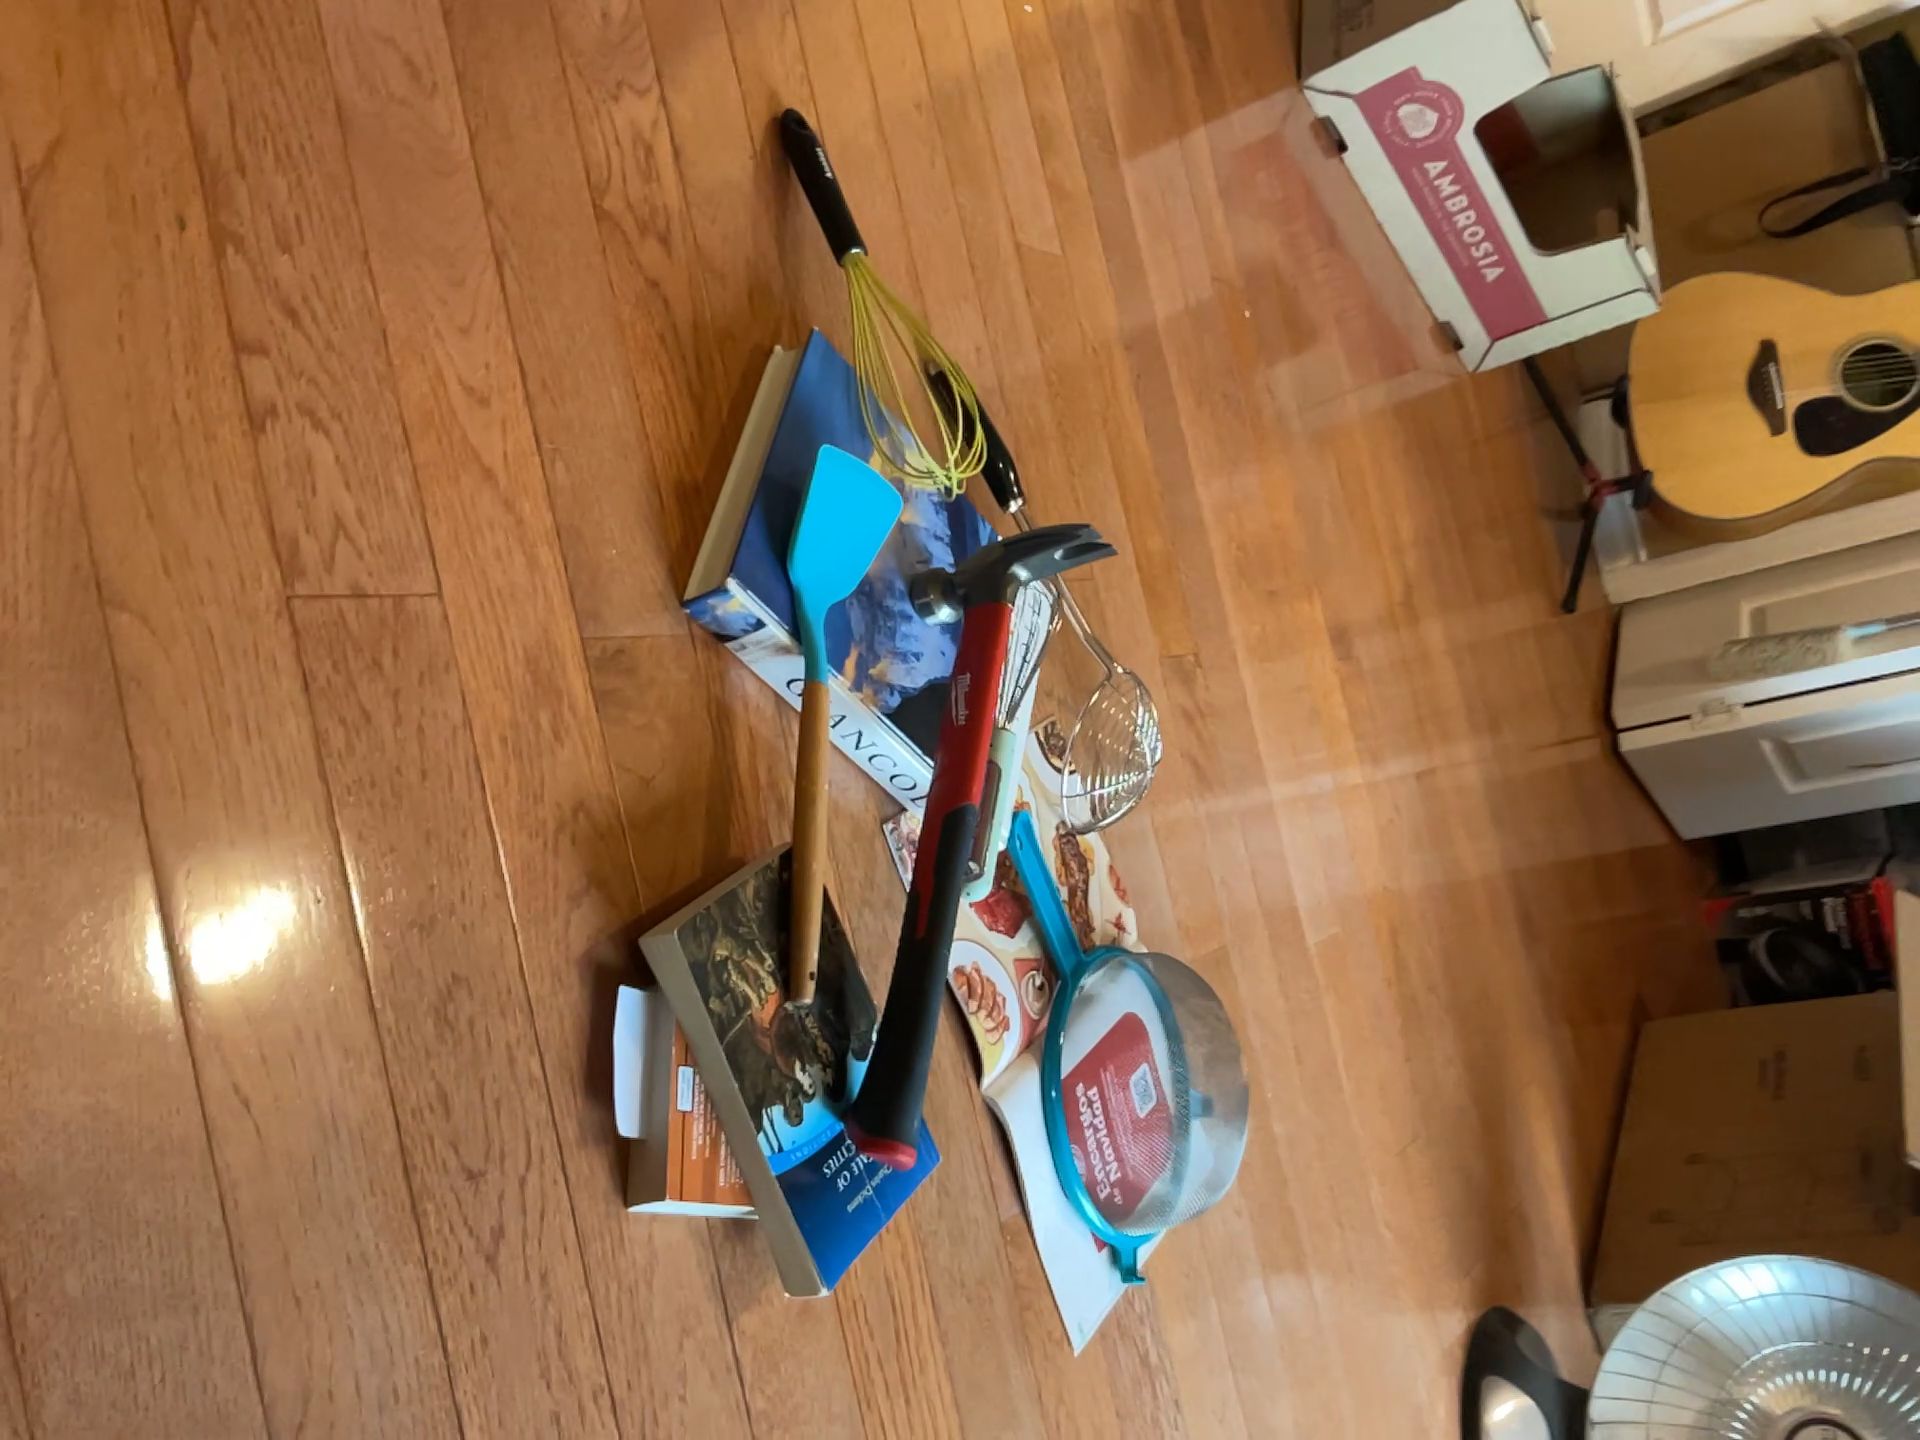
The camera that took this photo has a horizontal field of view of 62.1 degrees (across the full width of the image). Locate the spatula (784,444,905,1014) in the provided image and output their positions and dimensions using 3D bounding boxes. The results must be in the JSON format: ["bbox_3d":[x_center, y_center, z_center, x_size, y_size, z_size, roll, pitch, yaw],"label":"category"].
[{"bbox_3d":[-0.074,0.003,0.882,0.082,0.044,0.318,30,54,-49],"label":"spatula"}]

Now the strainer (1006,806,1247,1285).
[{"bbox_3d":[0.123,0.205,1.096,0.211,0.095,0.340,-48,123,-52],"label":"strainer"}]

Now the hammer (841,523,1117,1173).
[{"bbox_3d":[0.003,0.059,0.902,0.038,0.143,0.387,37,51,-39],"label":"hammer"}]

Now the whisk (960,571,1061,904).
[{"bbox_3d":[0.024,0.004,1.034,0.059,0.057,0.247,79,19,-62],"label":"whisk"}]

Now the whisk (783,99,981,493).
[{"bbox_3d":[-0.062,-0.281,1.040,0.080,0.067,0.312,-7,68,-41],"label":"whisk"}]

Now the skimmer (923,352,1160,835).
[{"bbox_3d":[0.046,-0.092,1.179,0.127,0.090,0.363,-28,90,-54],"label":"skimmer"}]
